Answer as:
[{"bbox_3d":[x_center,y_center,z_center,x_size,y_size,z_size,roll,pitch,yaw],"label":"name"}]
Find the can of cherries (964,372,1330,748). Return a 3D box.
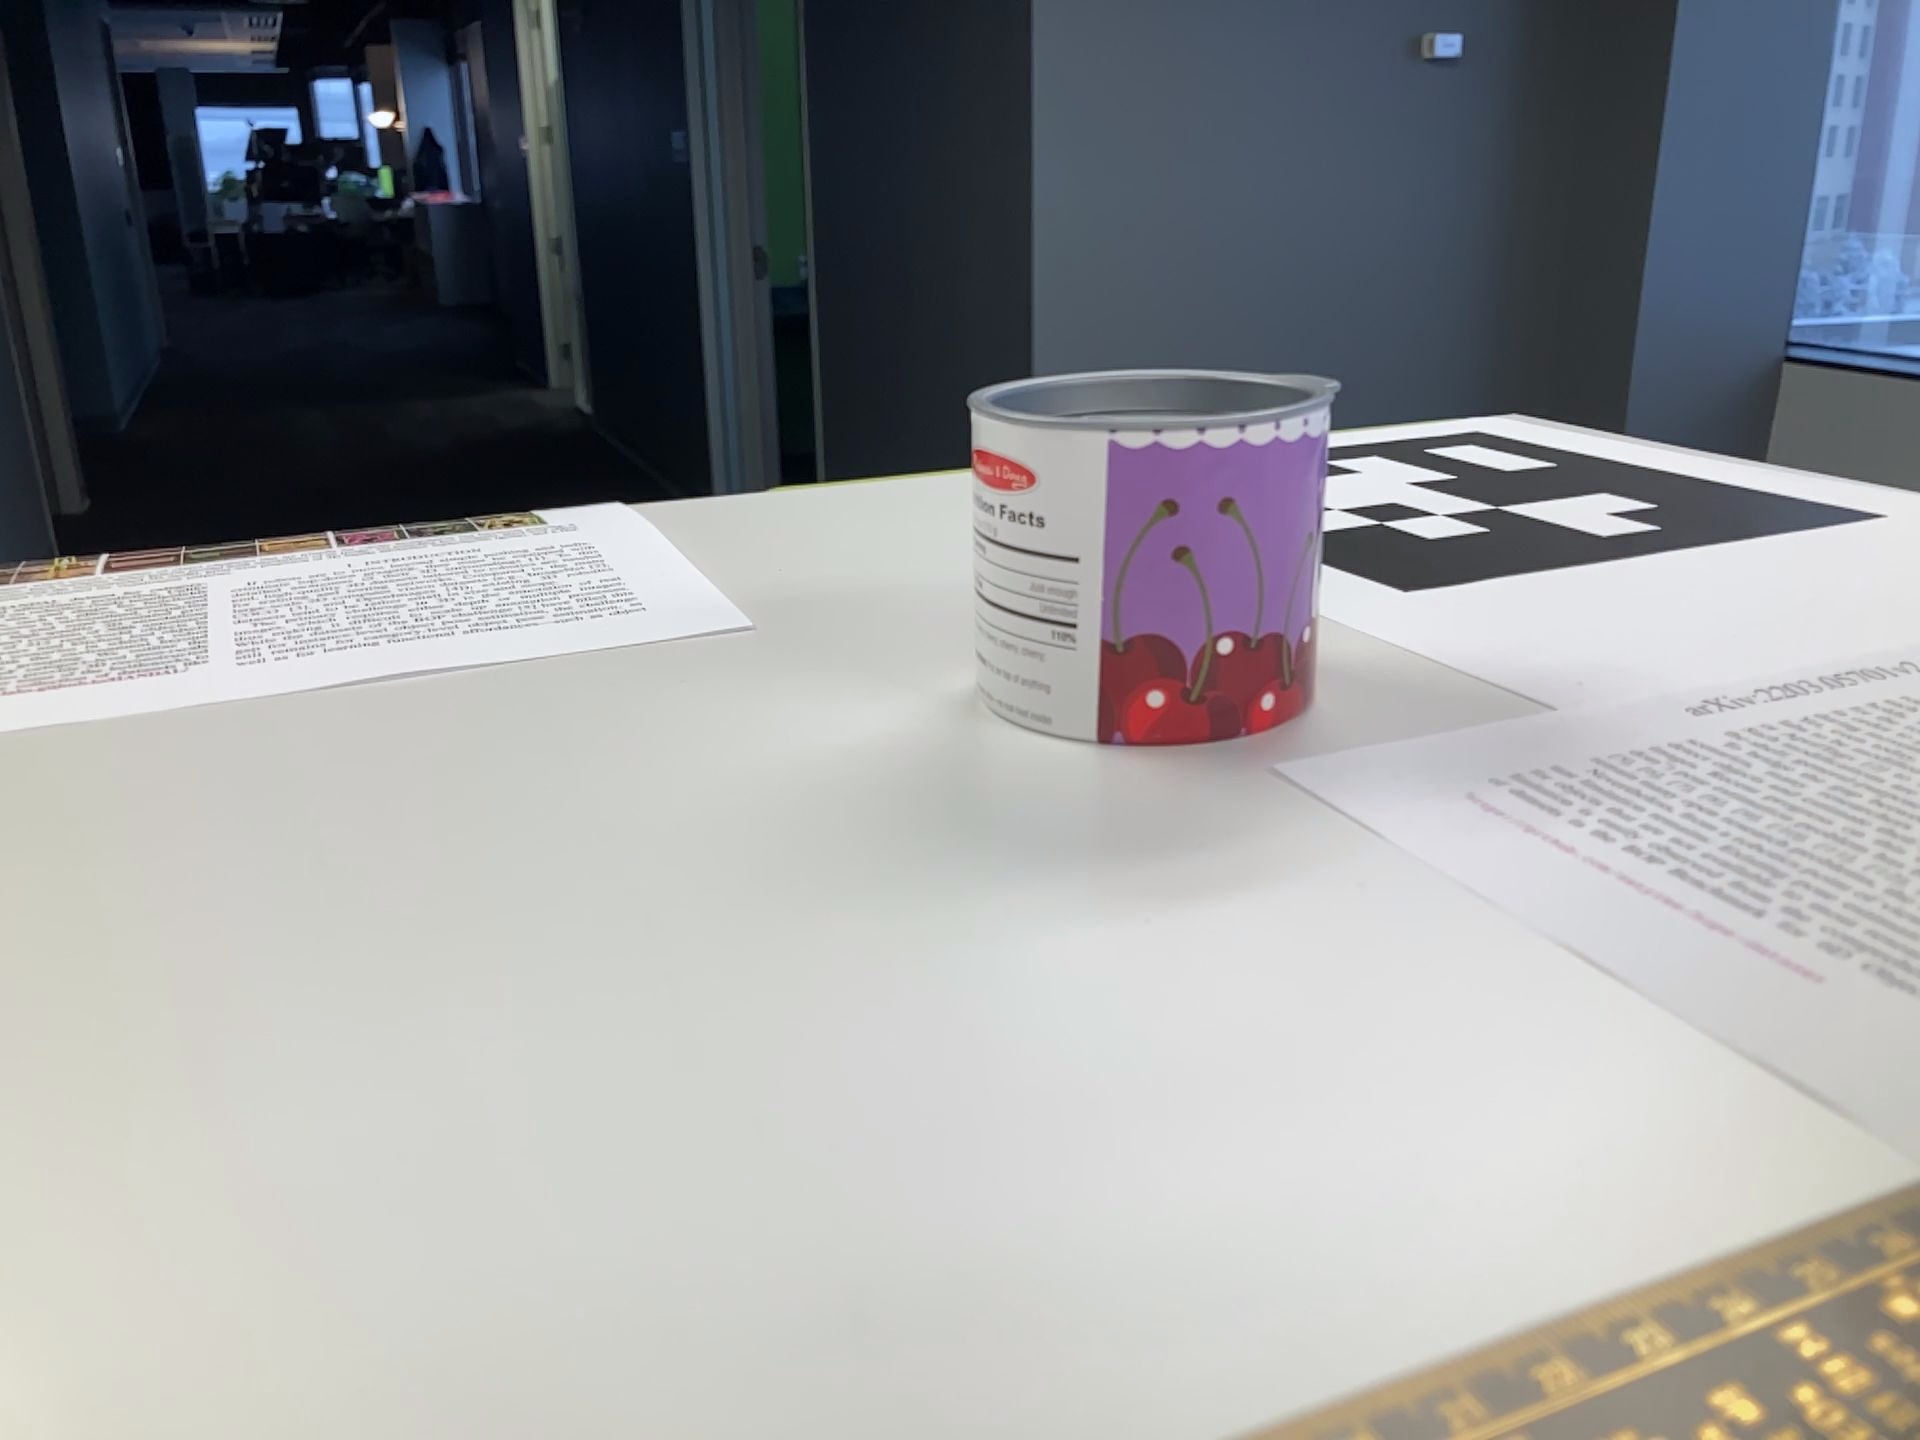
[{"bbox_3d":[0.037,-0.033,0.299,0.071,0.058,0.071,-2,19,1],"label":"can of cherries"}]
